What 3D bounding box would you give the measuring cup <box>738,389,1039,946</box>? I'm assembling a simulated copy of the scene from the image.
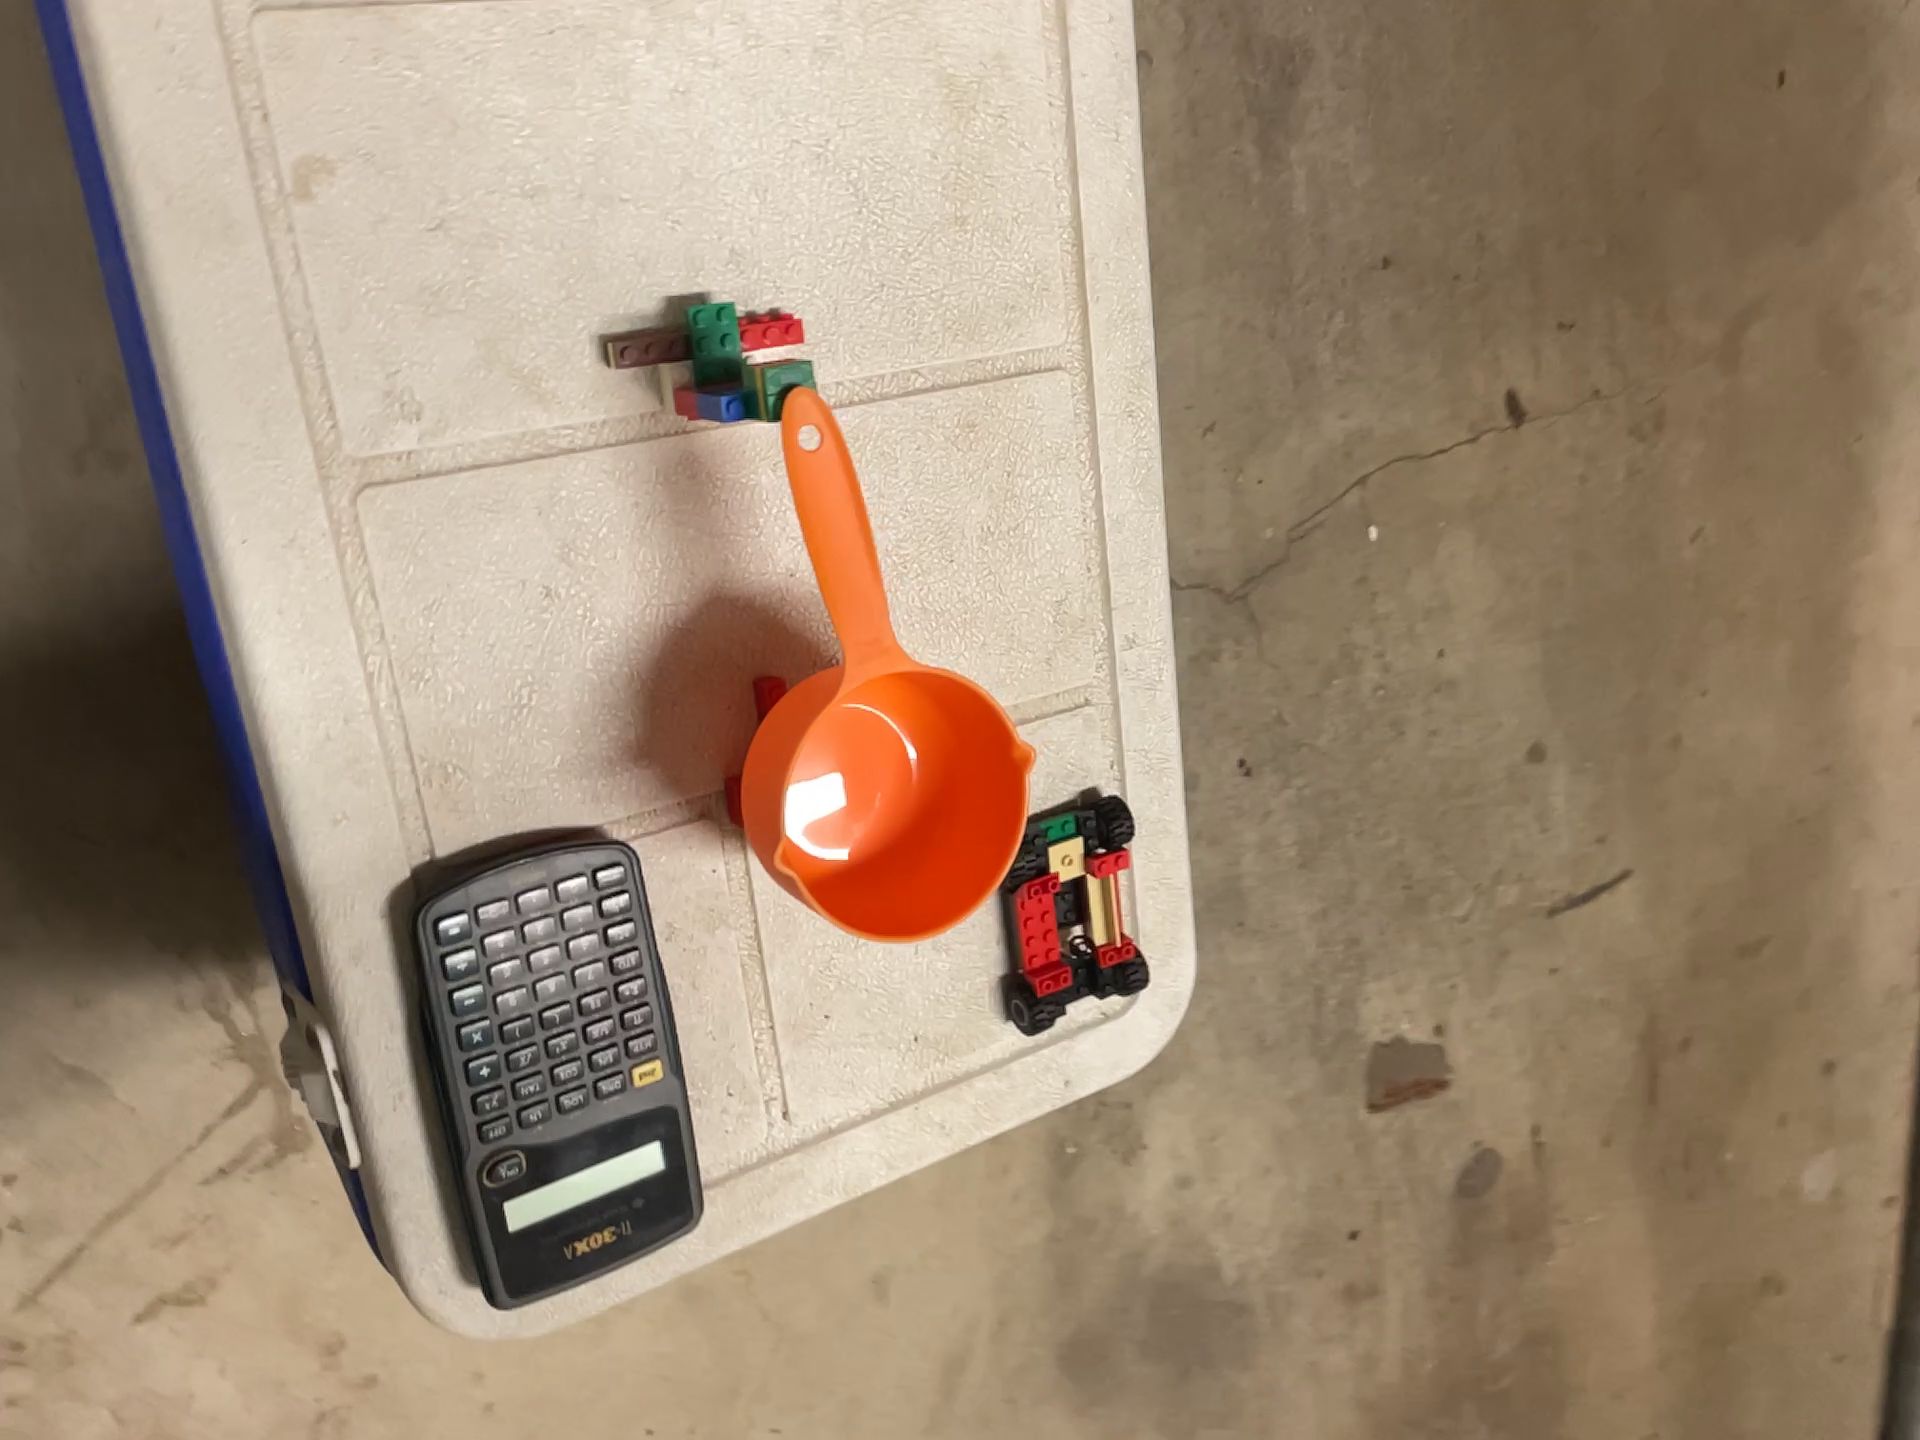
[{"bbox_3d":[-0.037,-0.016,0.500,0.095,0.052,0.173,-21,107,-27],"label":"measuring cup"}]
